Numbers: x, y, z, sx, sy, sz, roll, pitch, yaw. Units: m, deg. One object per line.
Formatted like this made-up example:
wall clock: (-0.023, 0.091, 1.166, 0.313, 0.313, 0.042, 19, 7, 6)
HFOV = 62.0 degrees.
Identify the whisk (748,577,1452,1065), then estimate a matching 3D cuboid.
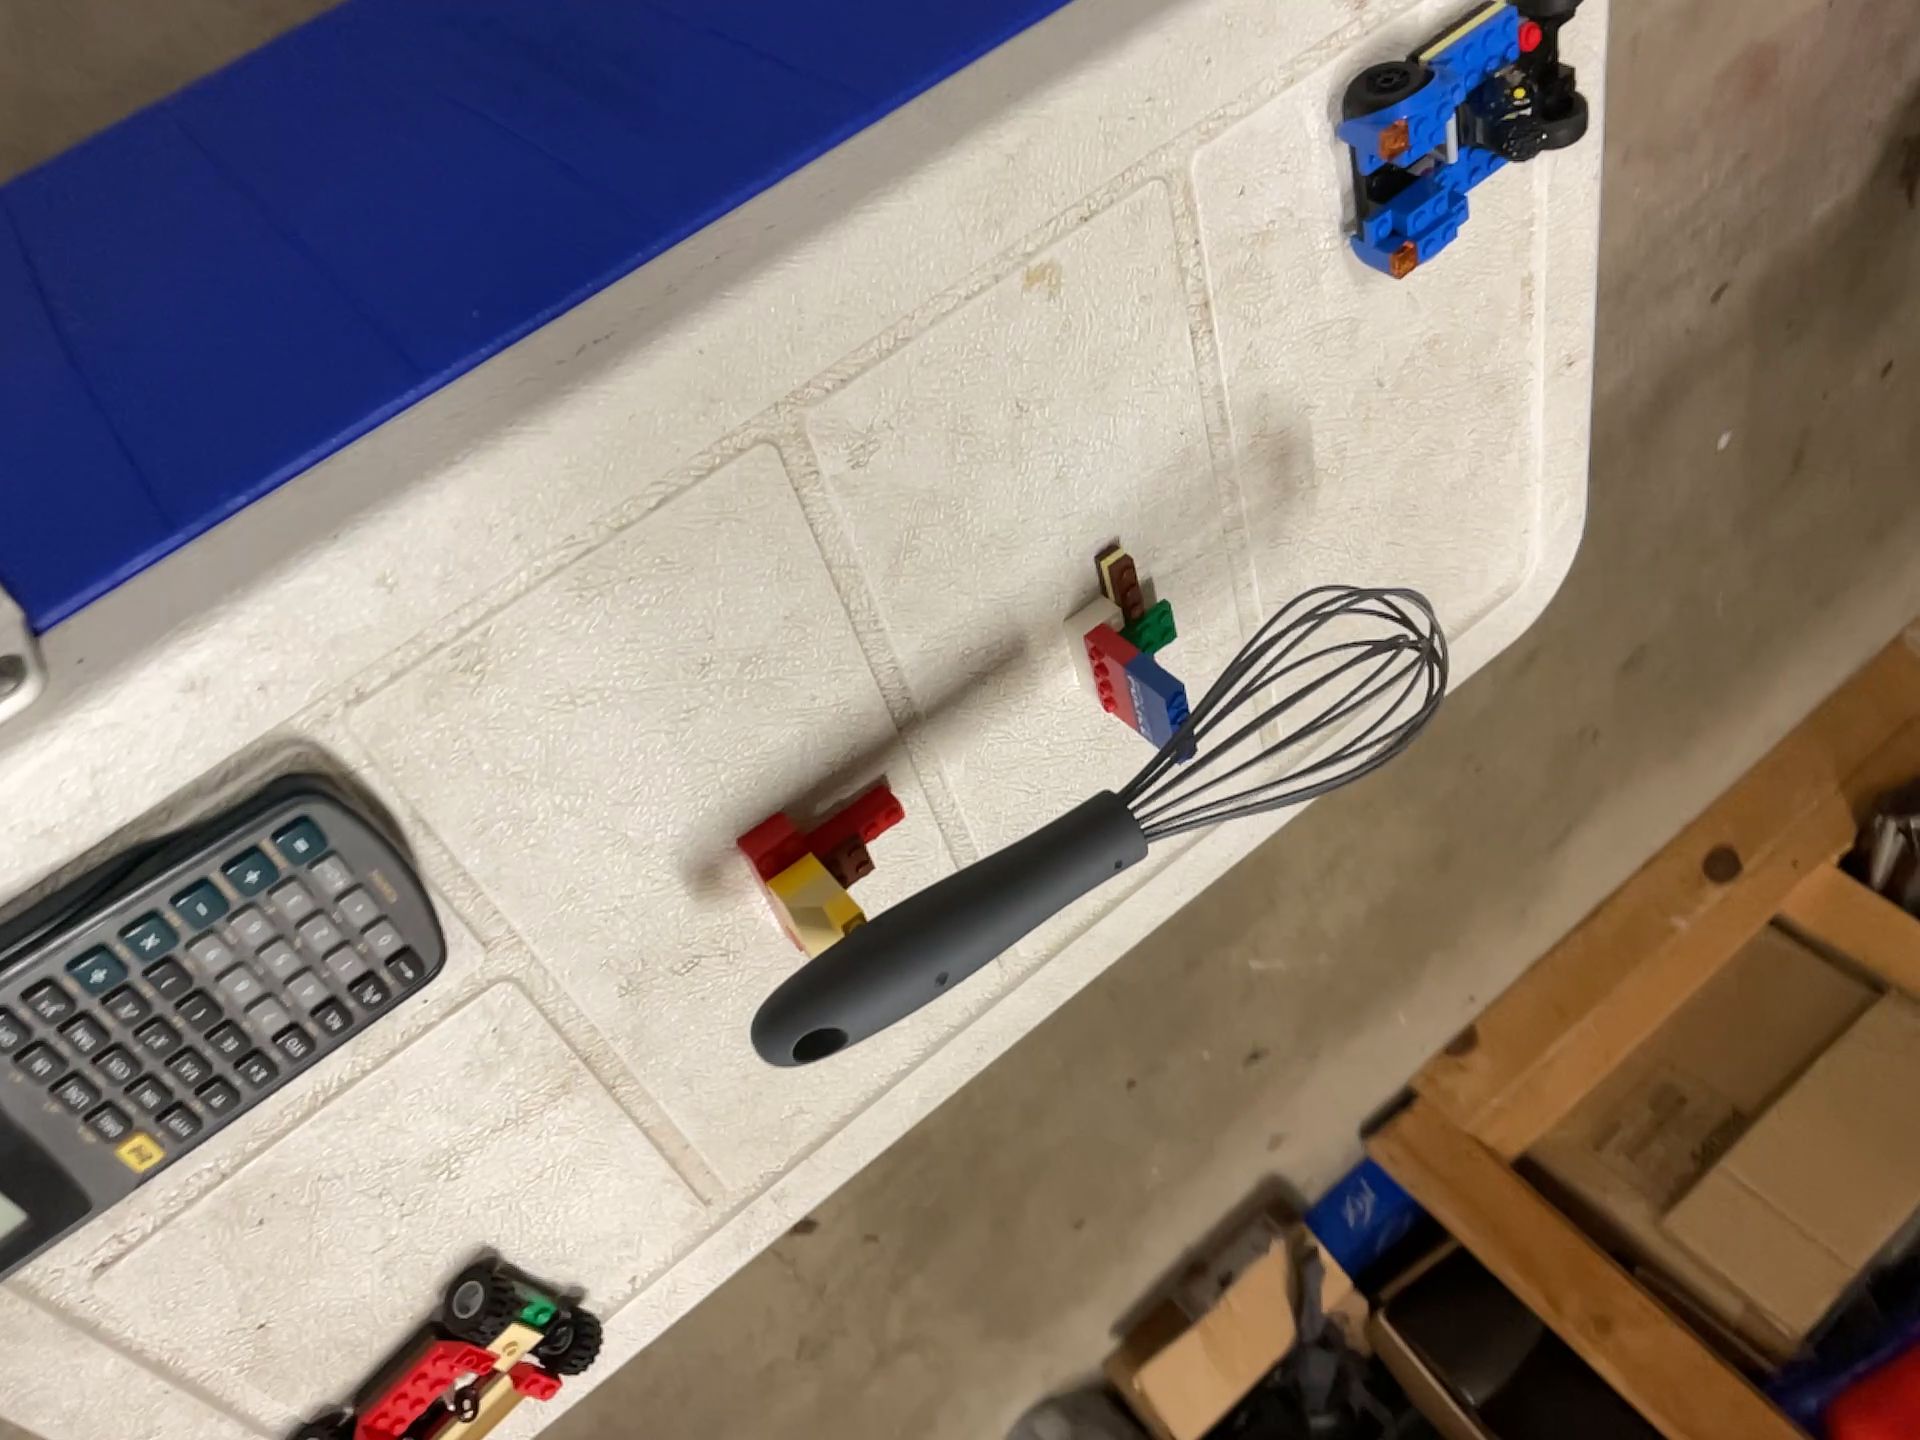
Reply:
whisk: (0.044, 0.028, 0.456, 0.239, 0.055, 0.055, -30, 135, -14)
